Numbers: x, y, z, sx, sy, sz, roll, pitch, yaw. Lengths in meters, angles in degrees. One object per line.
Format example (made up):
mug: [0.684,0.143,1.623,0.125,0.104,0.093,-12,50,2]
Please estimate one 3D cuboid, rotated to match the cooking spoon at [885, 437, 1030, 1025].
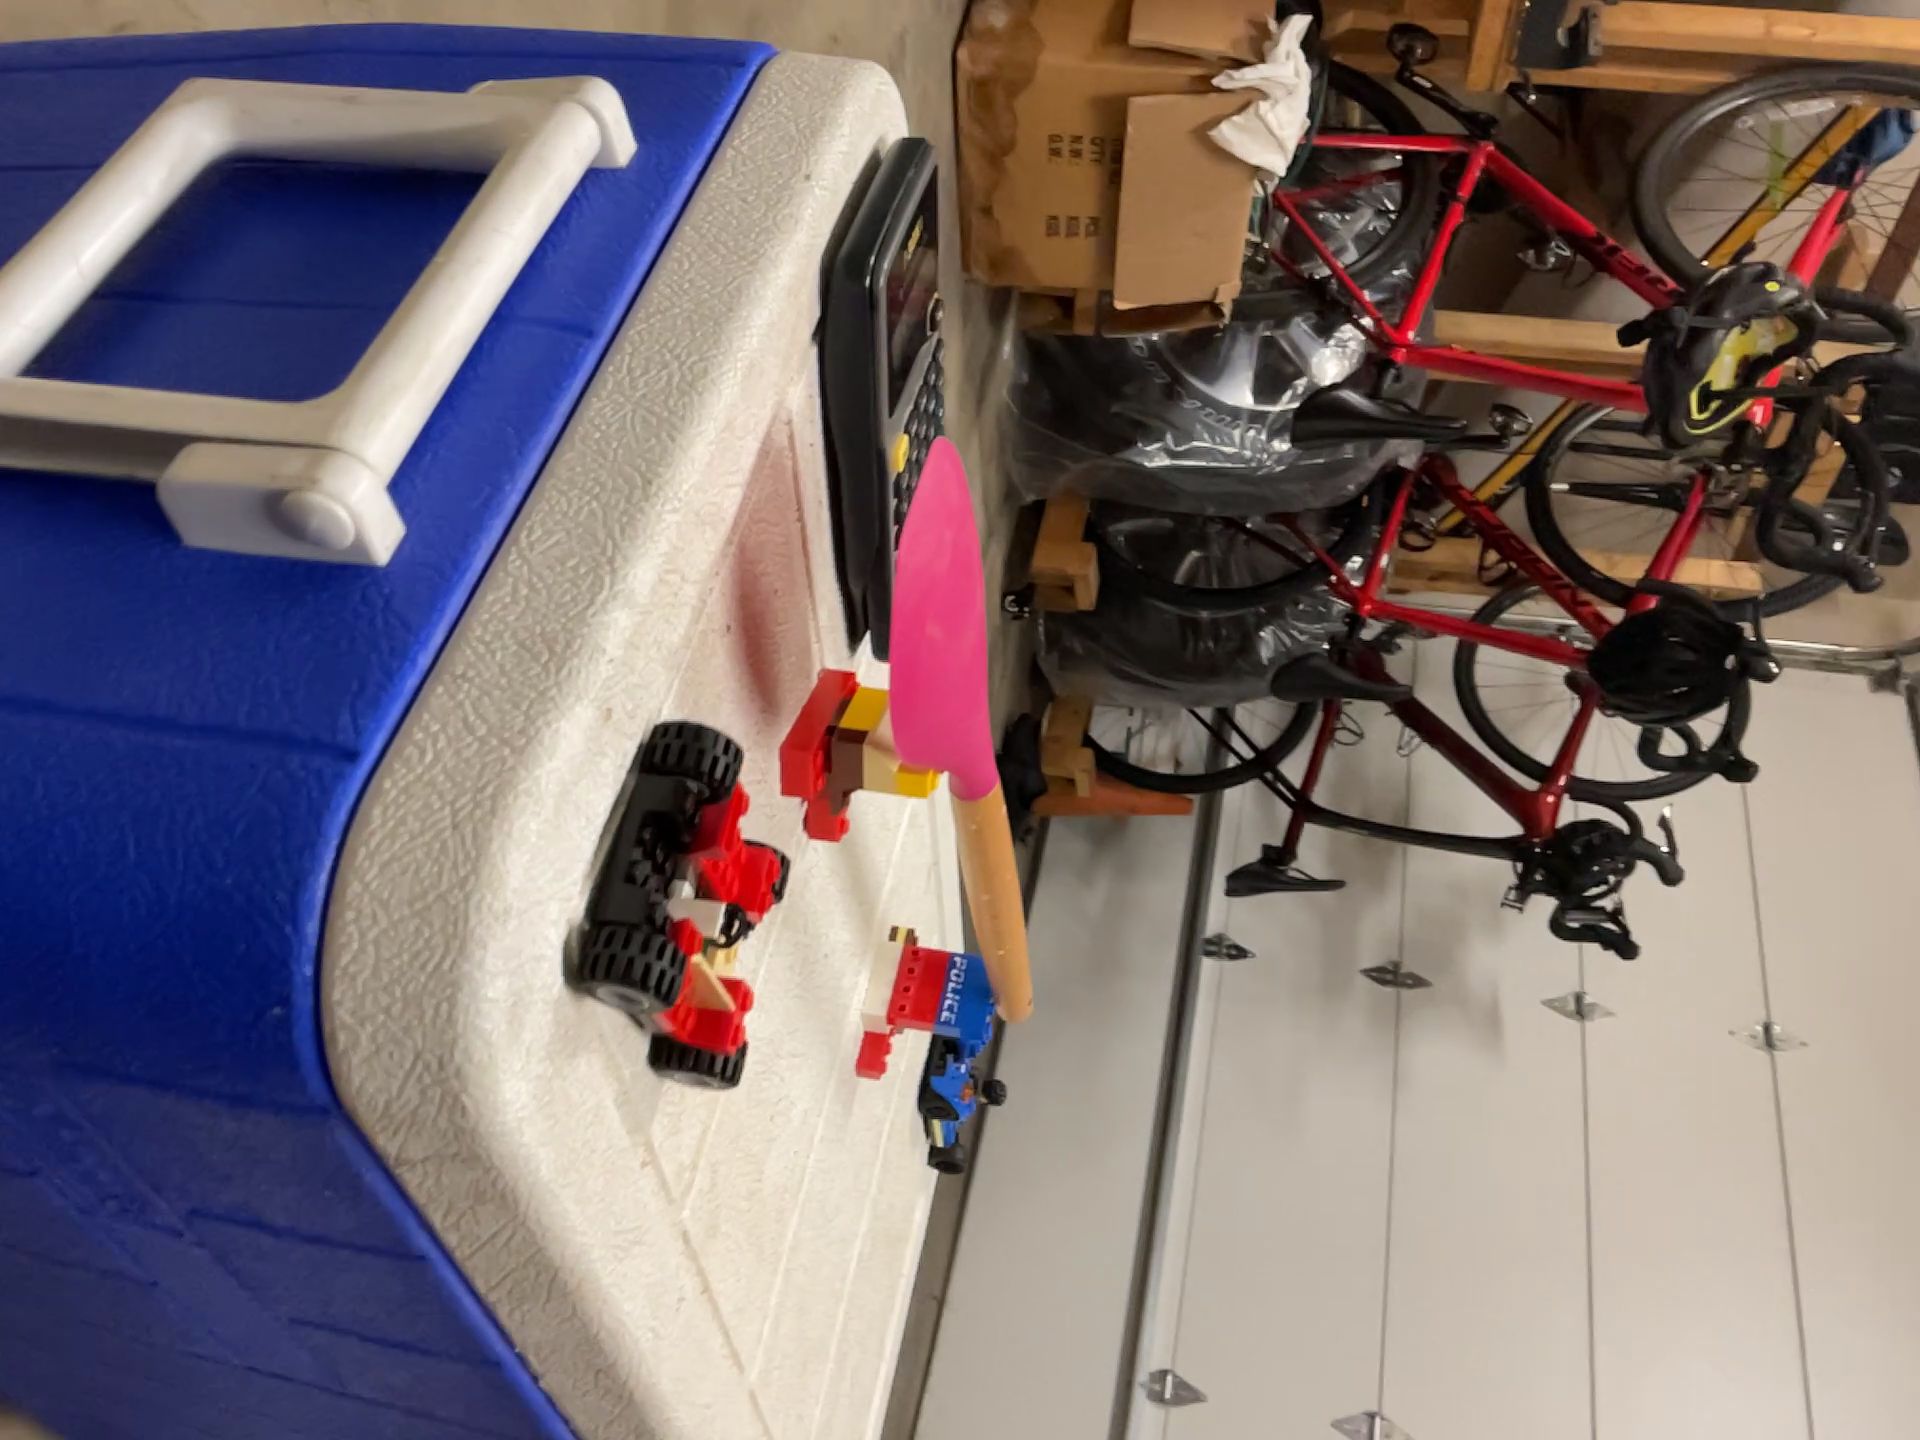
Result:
cooking spoon: [0.006,0.031,0.498,0.318,0.017,0.069,80,24,-58]
